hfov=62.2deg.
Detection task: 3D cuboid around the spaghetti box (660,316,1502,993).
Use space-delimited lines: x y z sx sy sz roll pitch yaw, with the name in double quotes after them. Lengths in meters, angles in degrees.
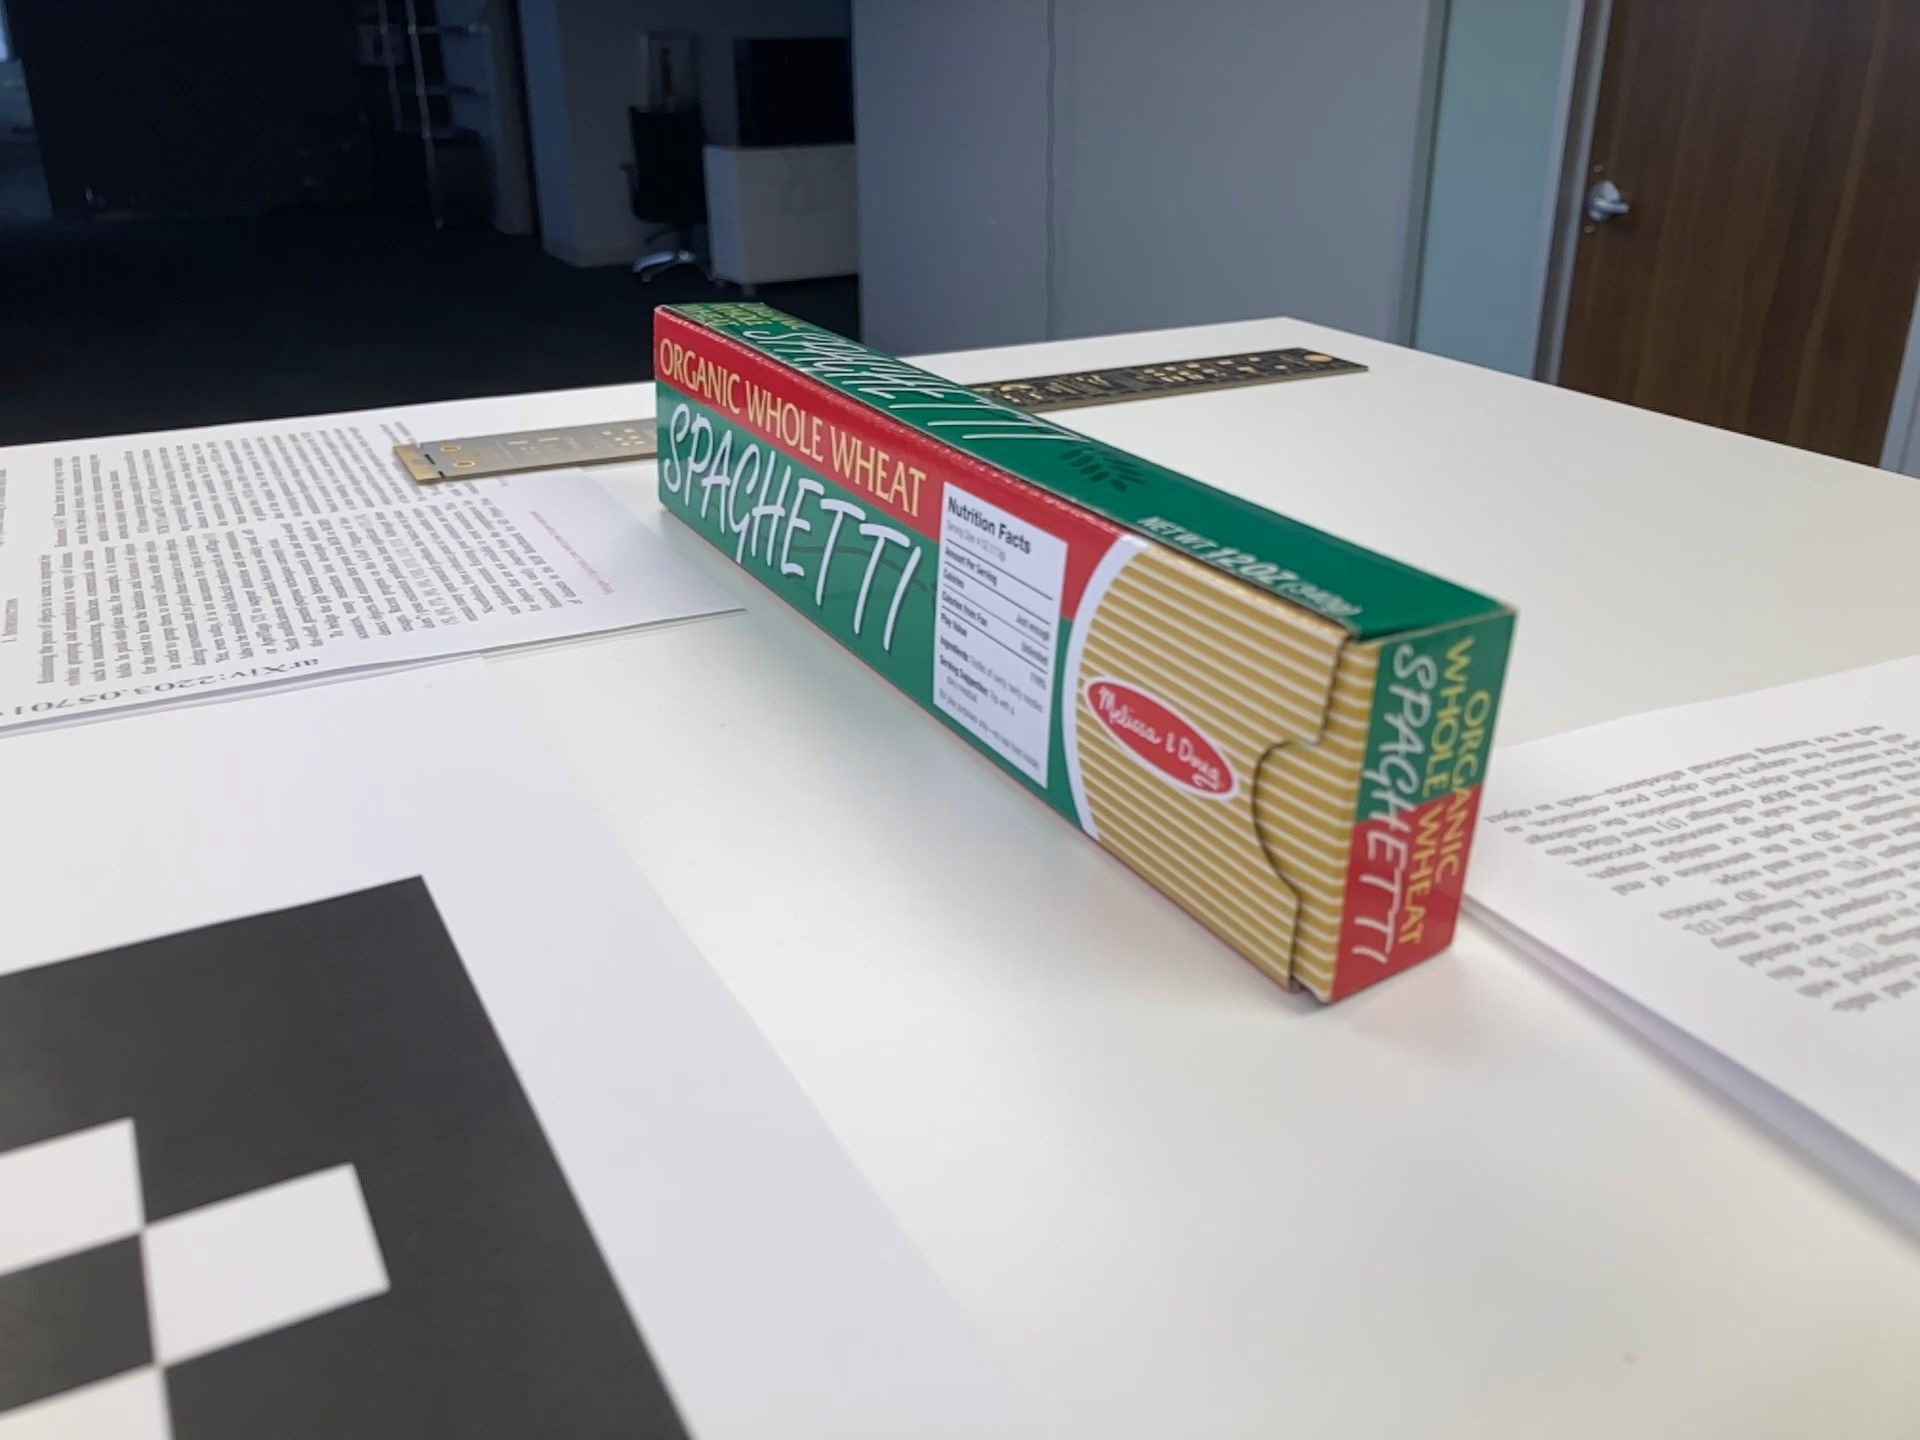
-0.004 -0.033 0.298 0.028 0.050 0.250 -8 25 -28 "spaghetti box"
